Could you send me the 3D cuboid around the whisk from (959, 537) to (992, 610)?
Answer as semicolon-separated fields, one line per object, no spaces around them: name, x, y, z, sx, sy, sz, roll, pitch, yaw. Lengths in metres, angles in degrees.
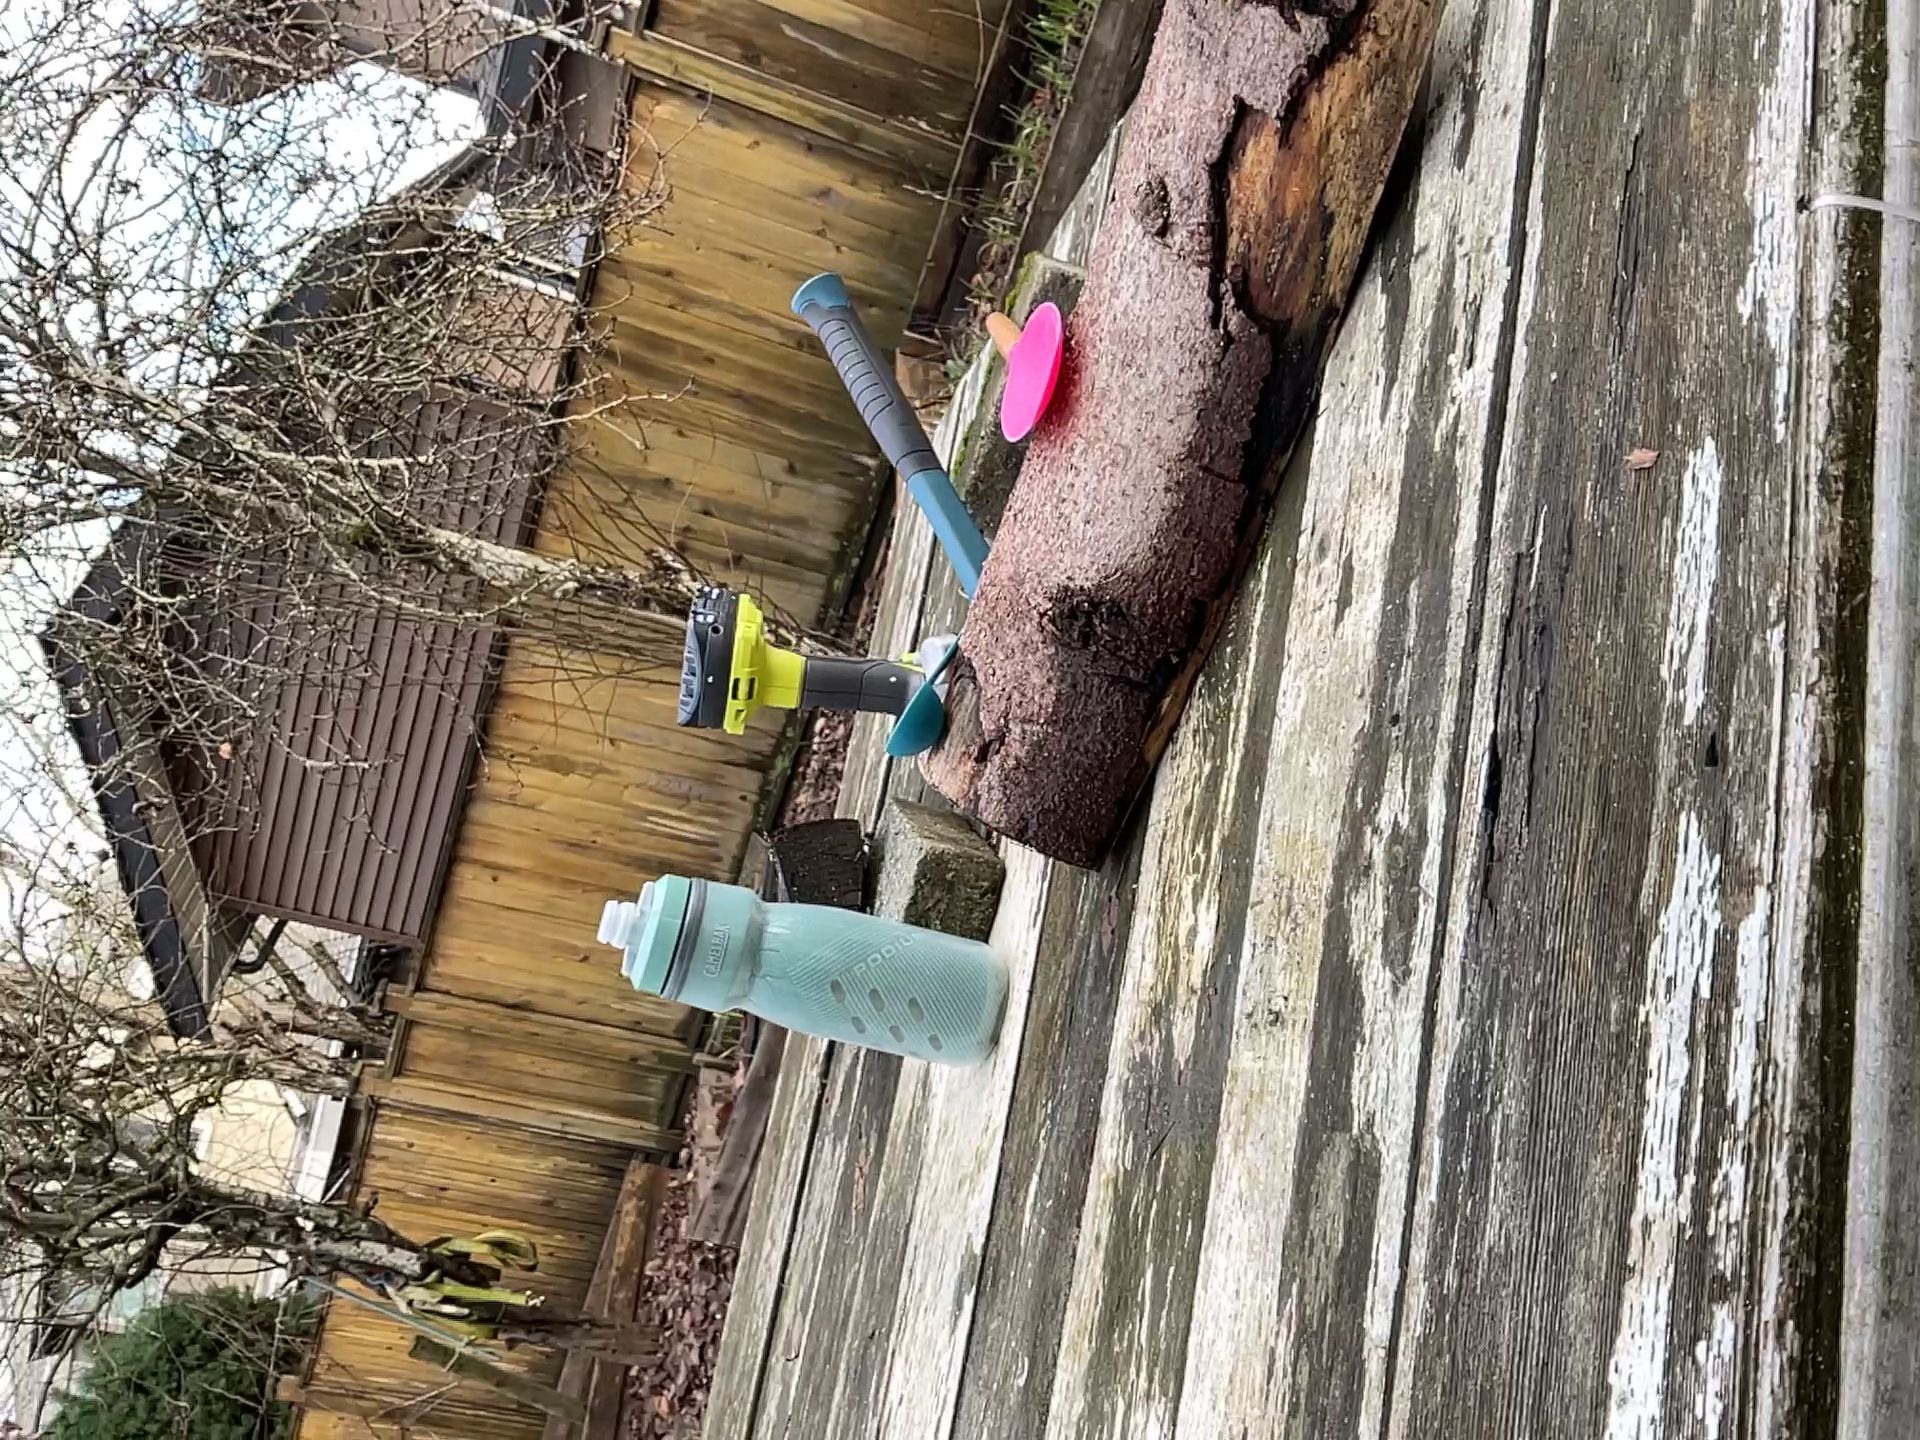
whisk;0.020;-0.111;1.160;0.239;0.055;0.055;-103;38;-73

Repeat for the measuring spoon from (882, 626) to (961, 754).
measuring spoon;-0.003;-0.027;0.858;0.128;0.021;0.042;-57;-2;-37

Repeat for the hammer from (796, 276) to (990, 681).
hammer;-0.028;-0.169;1.042;0.331;0.128;0.033;62;145;25

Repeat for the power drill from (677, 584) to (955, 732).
power drill;-0.082;-0.035;1.136;0.171;0.223;0.080;-106;25;-70

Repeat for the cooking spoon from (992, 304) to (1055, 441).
cooking spoon;0.033;-0.209;0.899;0.319;0.017;0.068;-96;23;-70
